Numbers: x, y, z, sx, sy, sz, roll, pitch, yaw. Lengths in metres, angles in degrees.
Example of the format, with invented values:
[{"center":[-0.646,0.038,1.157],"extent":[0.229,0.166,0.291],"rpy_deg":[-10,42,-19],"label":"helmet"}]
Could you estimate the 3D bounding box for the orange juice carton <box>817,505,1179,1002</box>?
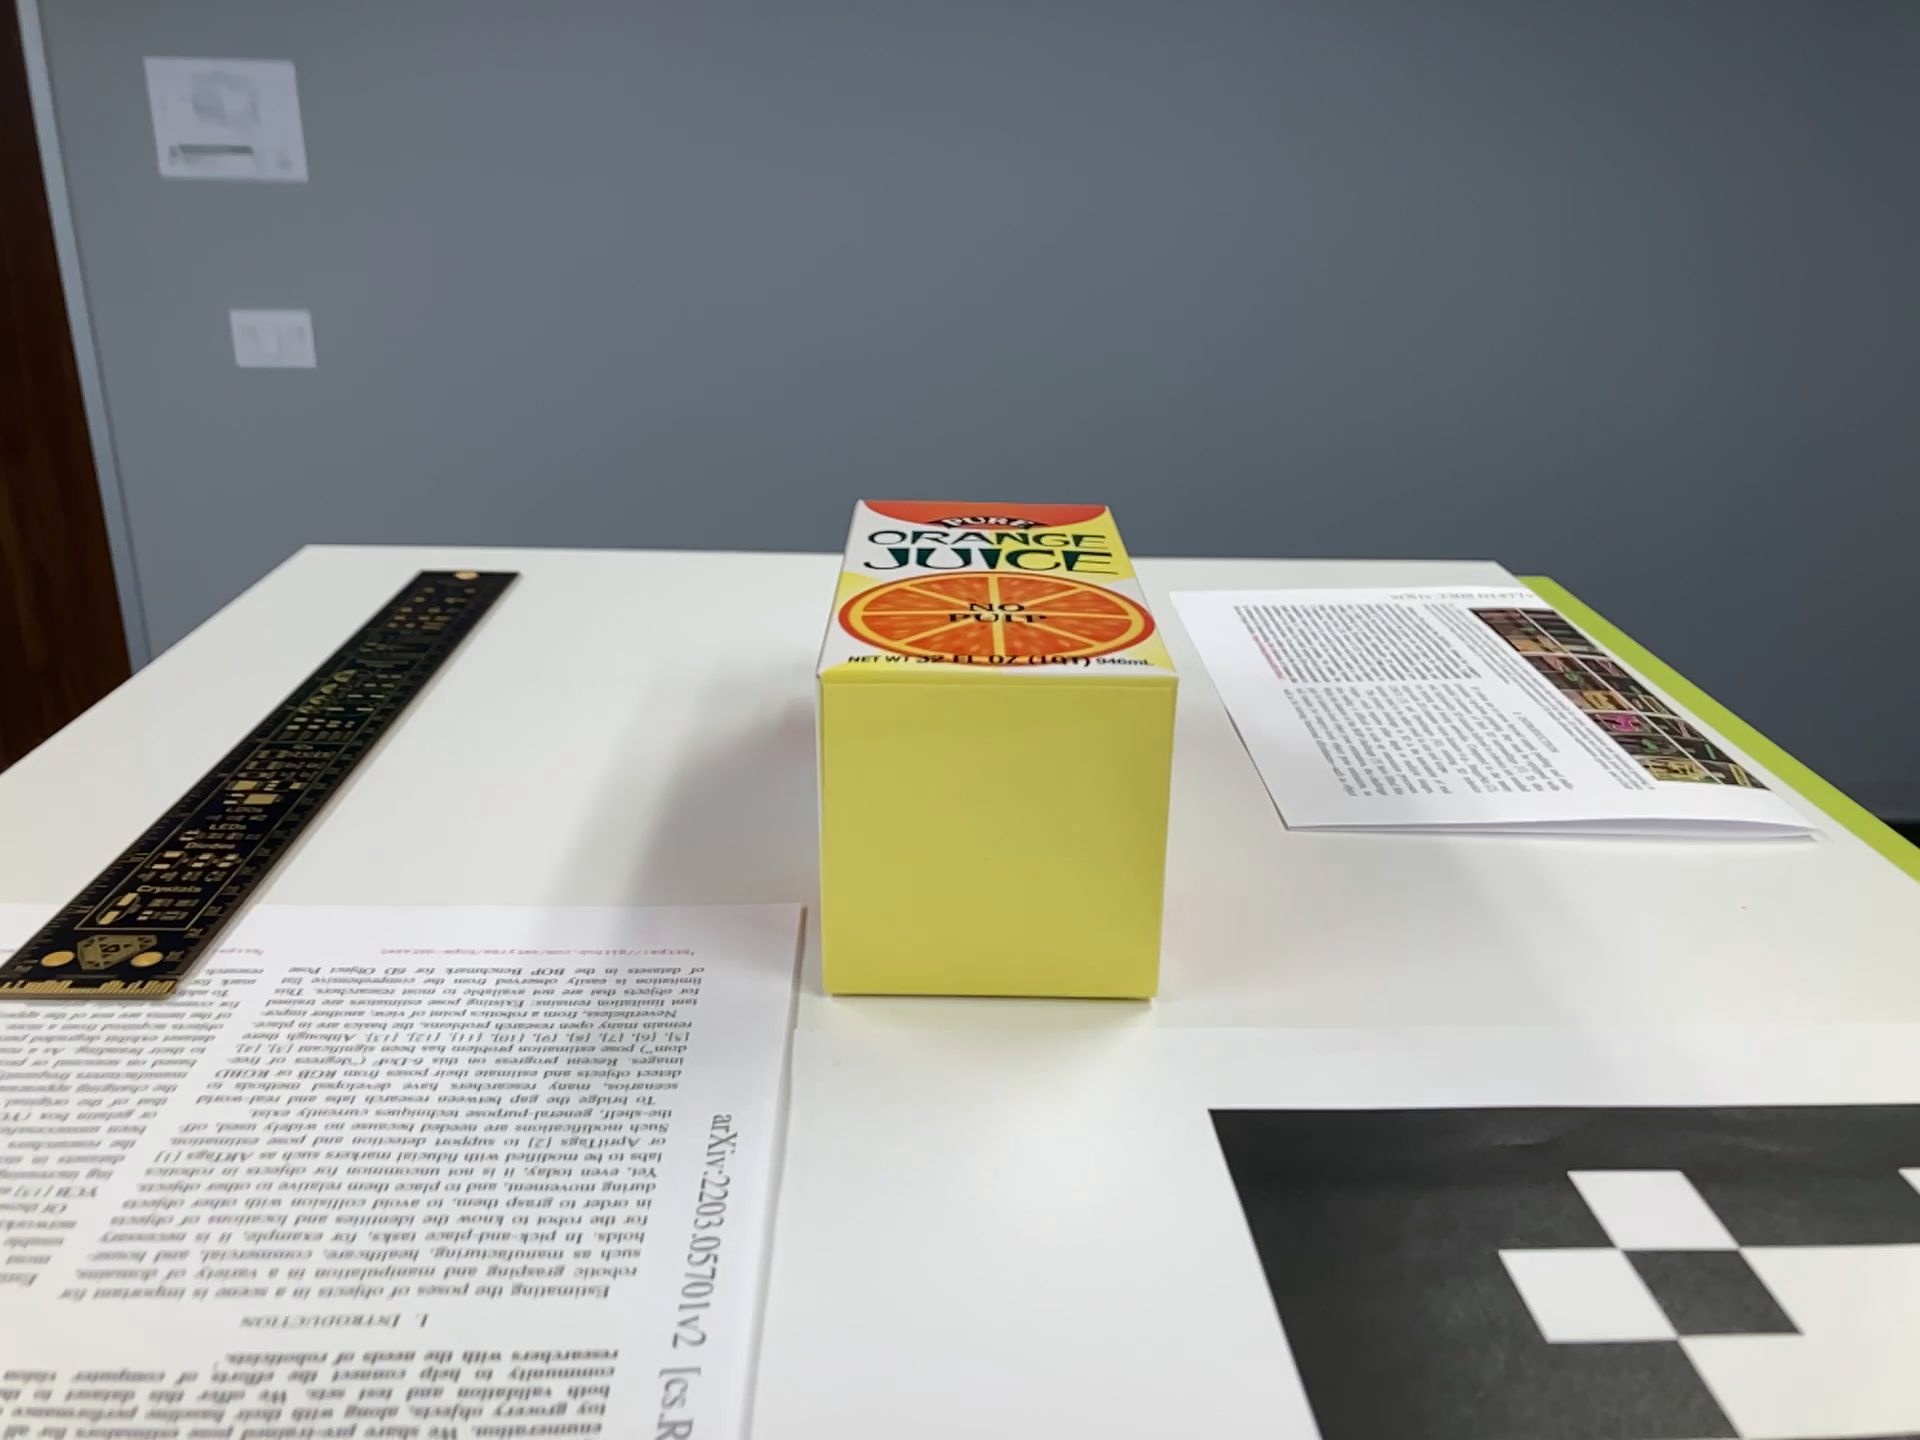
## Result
[{"center":[0.006,-0.008,0.408],"extent":[0.072,0.073,0.192],"rpy_deg":[1,21,-1],"label":"orange juice carton"}]
